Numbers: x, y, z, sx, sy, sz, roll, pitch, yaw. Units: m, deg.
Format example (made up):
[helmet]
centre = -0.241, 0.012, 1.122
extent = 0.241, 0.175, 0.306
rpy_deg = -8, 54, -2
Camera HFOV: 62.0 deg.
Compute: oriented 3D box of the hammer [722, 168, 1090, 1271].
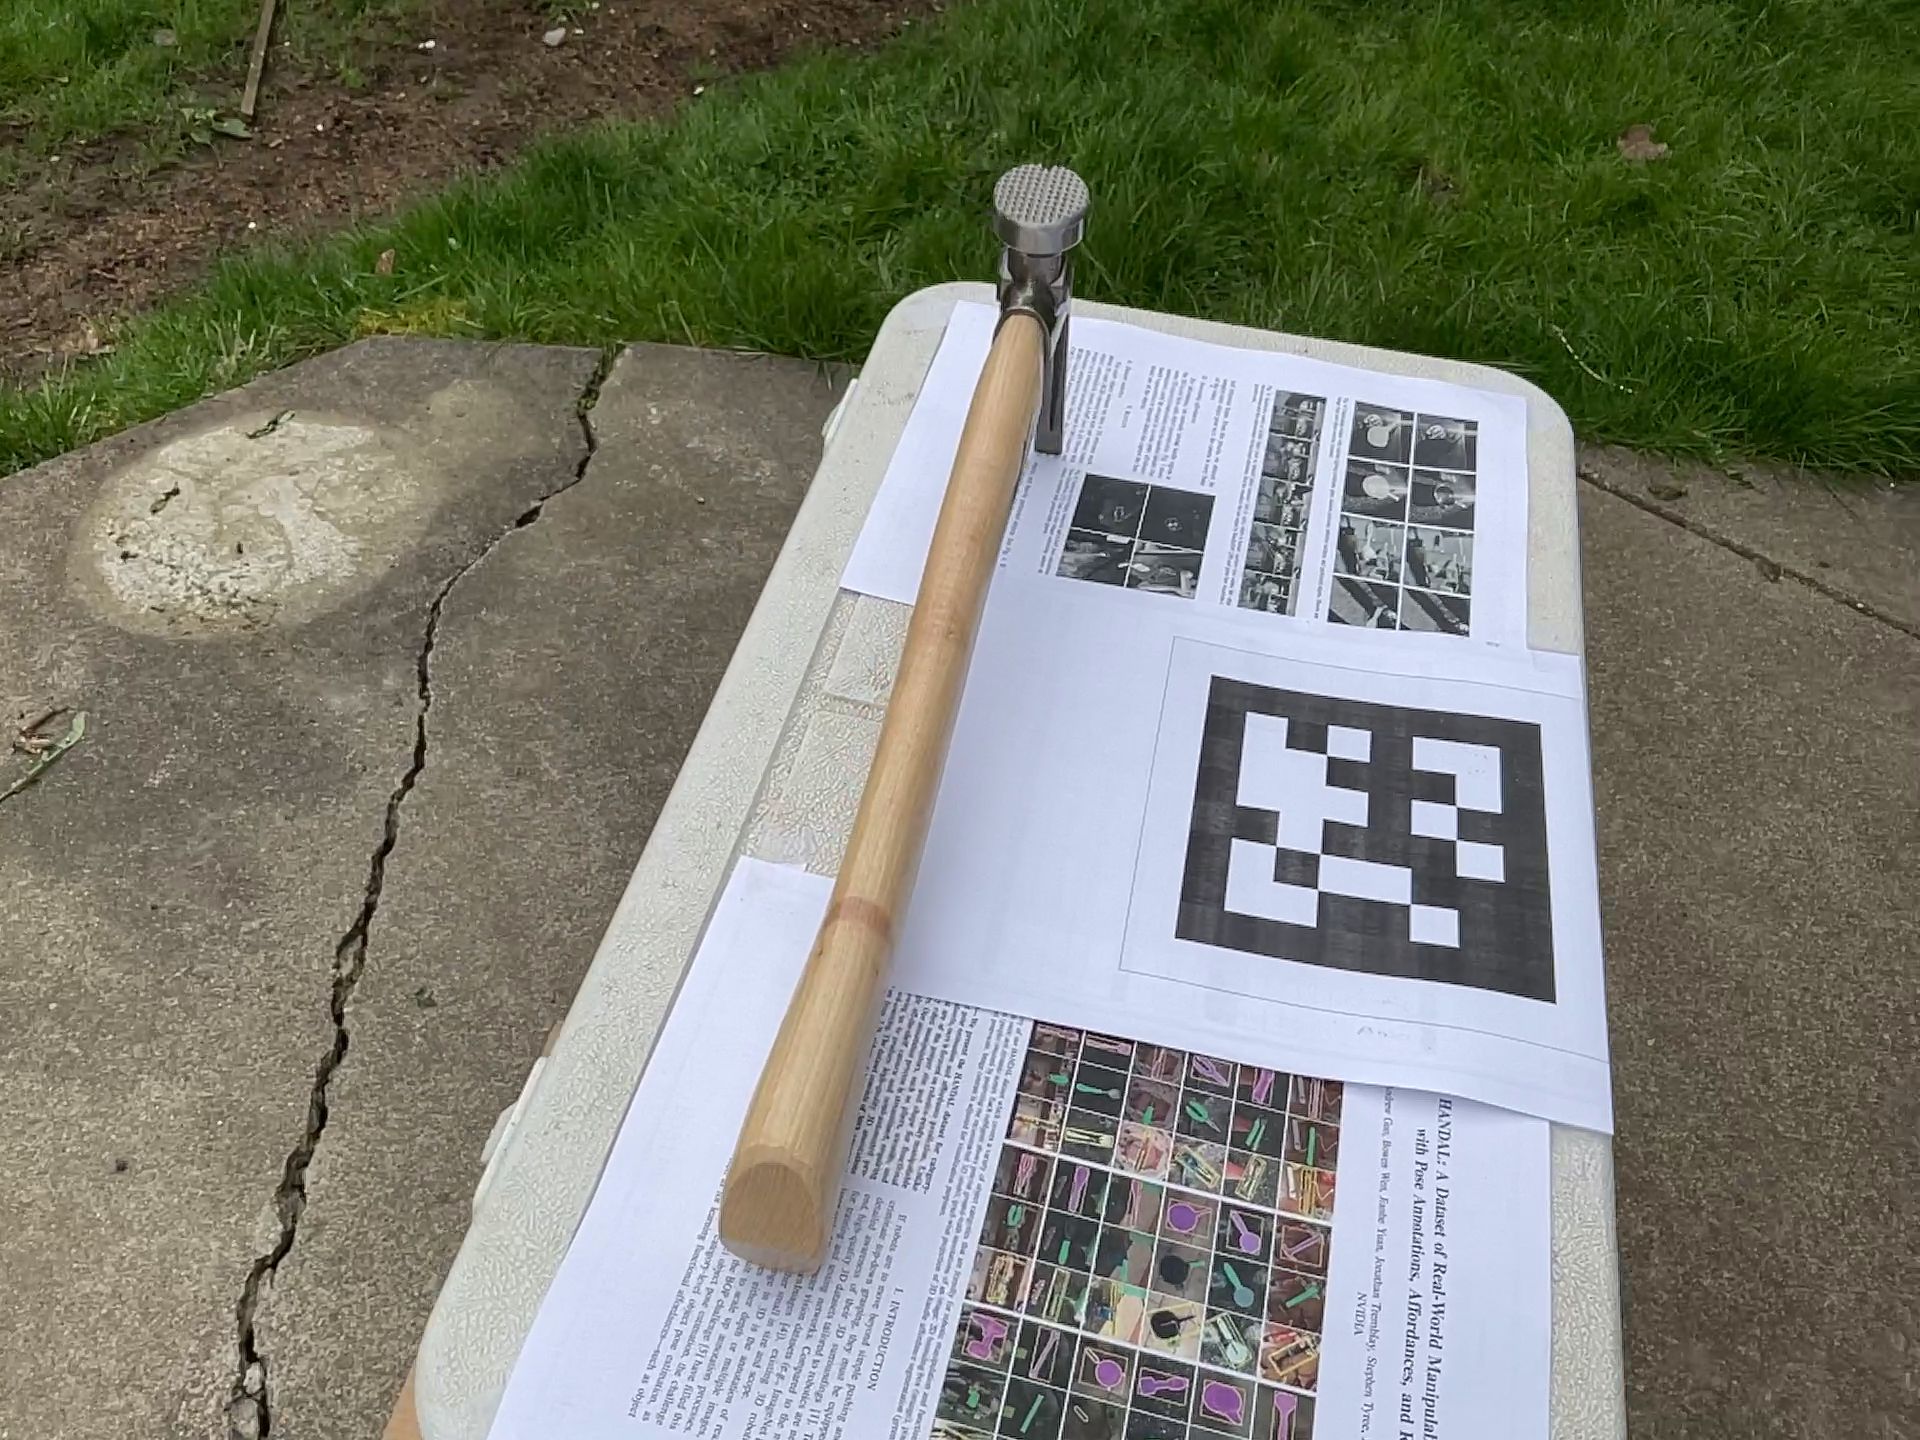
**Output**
[hammer]
centre = -0.010, -0.010, 0.577
extent = 0.038, 0.146, 0.411
rpy_deg = 11, 58, 7
